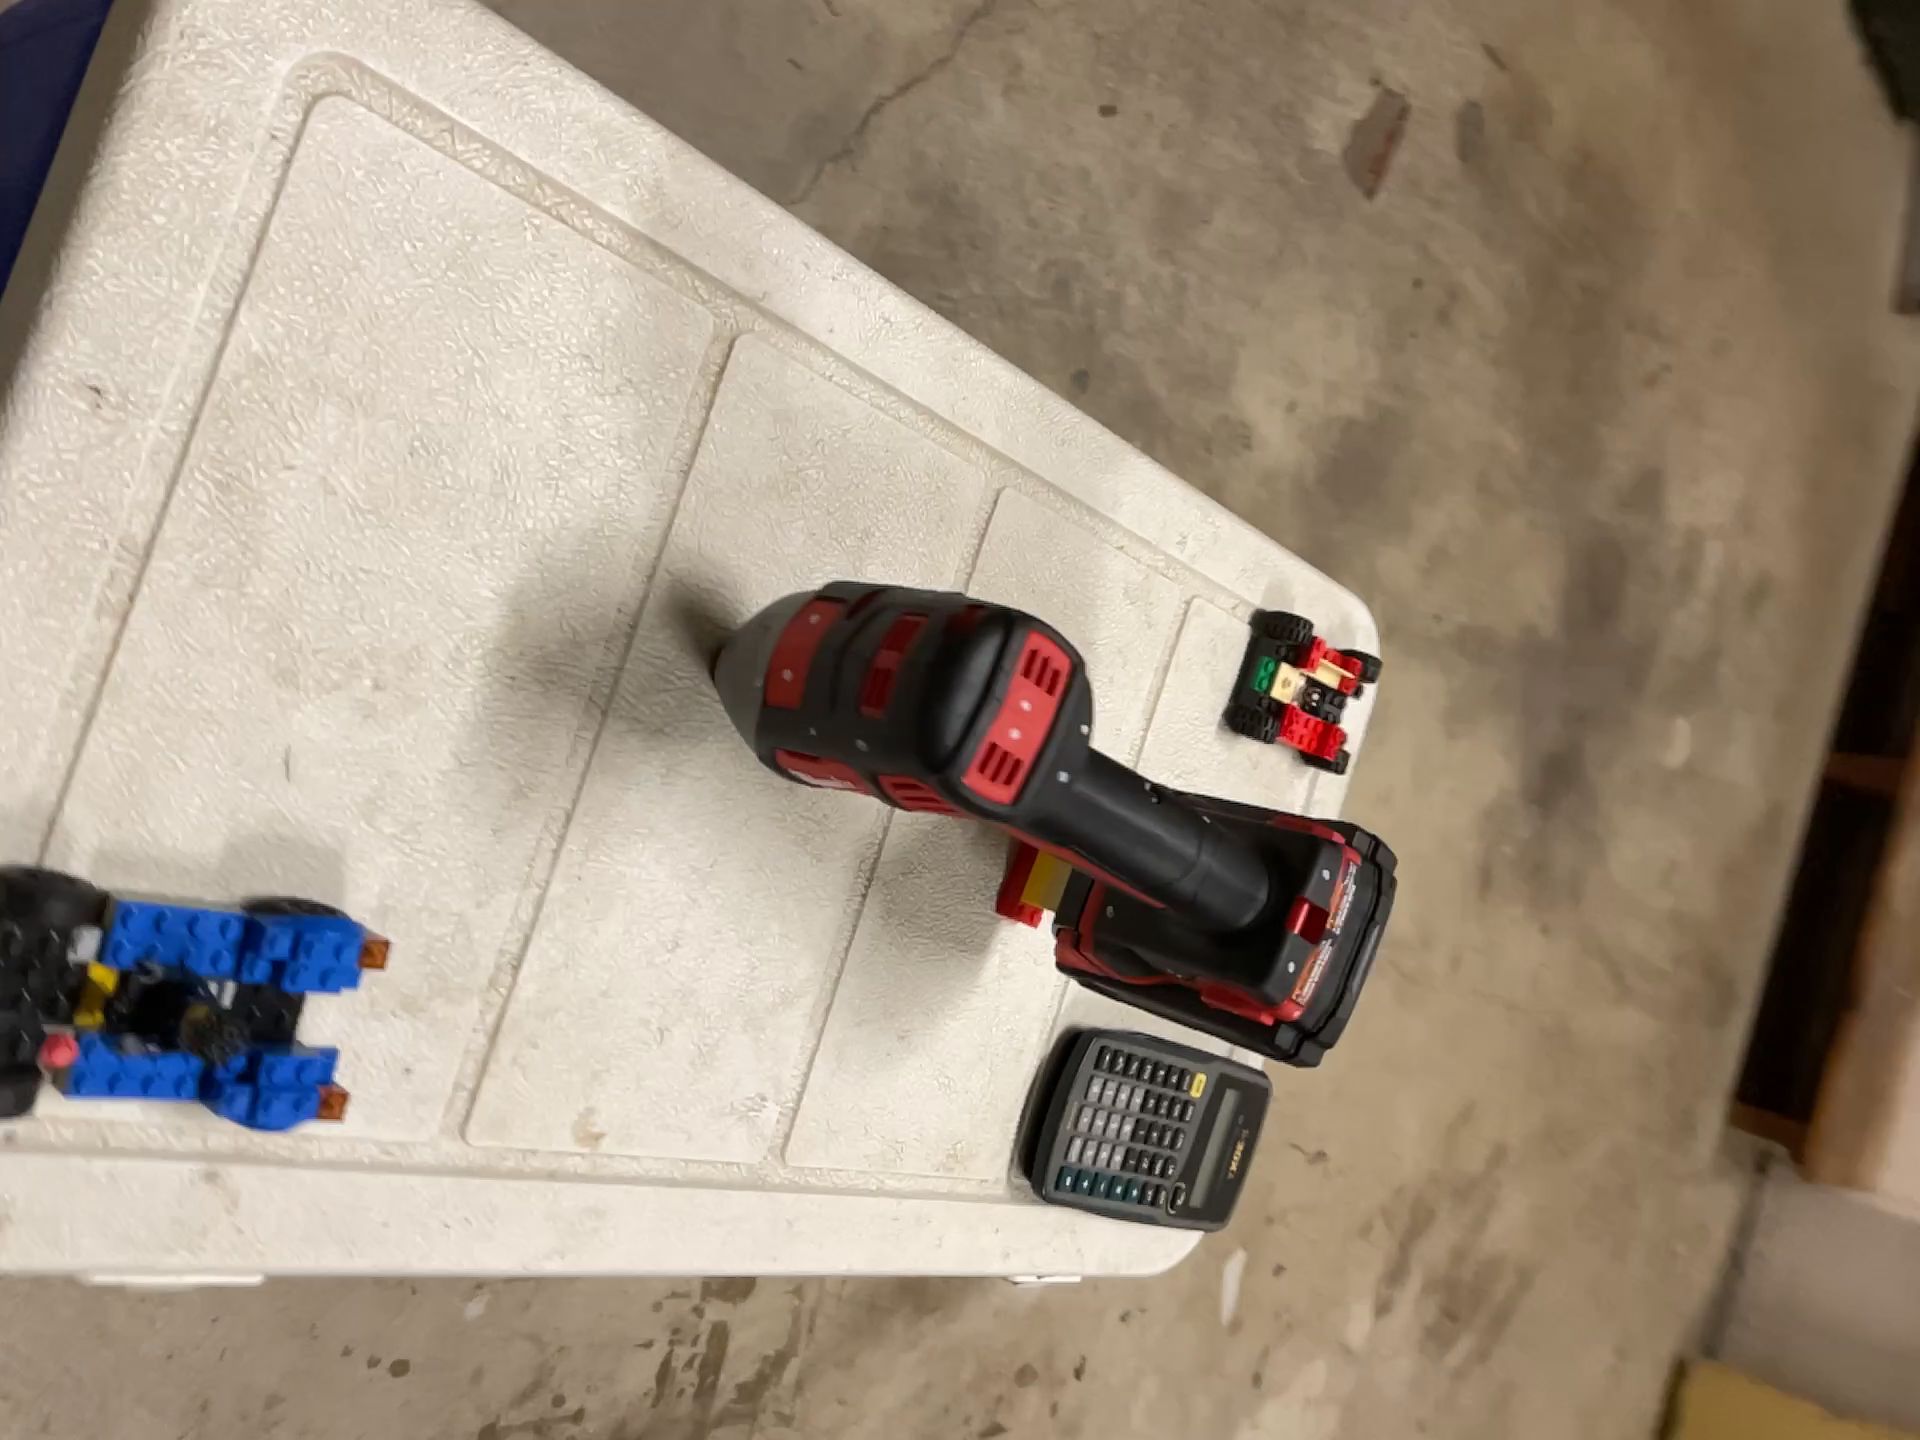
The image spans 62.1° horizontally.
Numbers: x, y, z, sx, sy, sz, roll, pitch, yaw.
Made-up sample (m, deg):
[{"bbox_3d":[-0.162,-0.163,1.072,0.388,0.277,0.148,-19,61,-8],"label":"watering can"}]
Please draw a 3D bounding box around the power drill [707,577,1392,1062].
[{"bbox_3d":[0.025,0.026,0.501,0.219,0.143,0.078,33,75,-38],"label":"power drill"}]
